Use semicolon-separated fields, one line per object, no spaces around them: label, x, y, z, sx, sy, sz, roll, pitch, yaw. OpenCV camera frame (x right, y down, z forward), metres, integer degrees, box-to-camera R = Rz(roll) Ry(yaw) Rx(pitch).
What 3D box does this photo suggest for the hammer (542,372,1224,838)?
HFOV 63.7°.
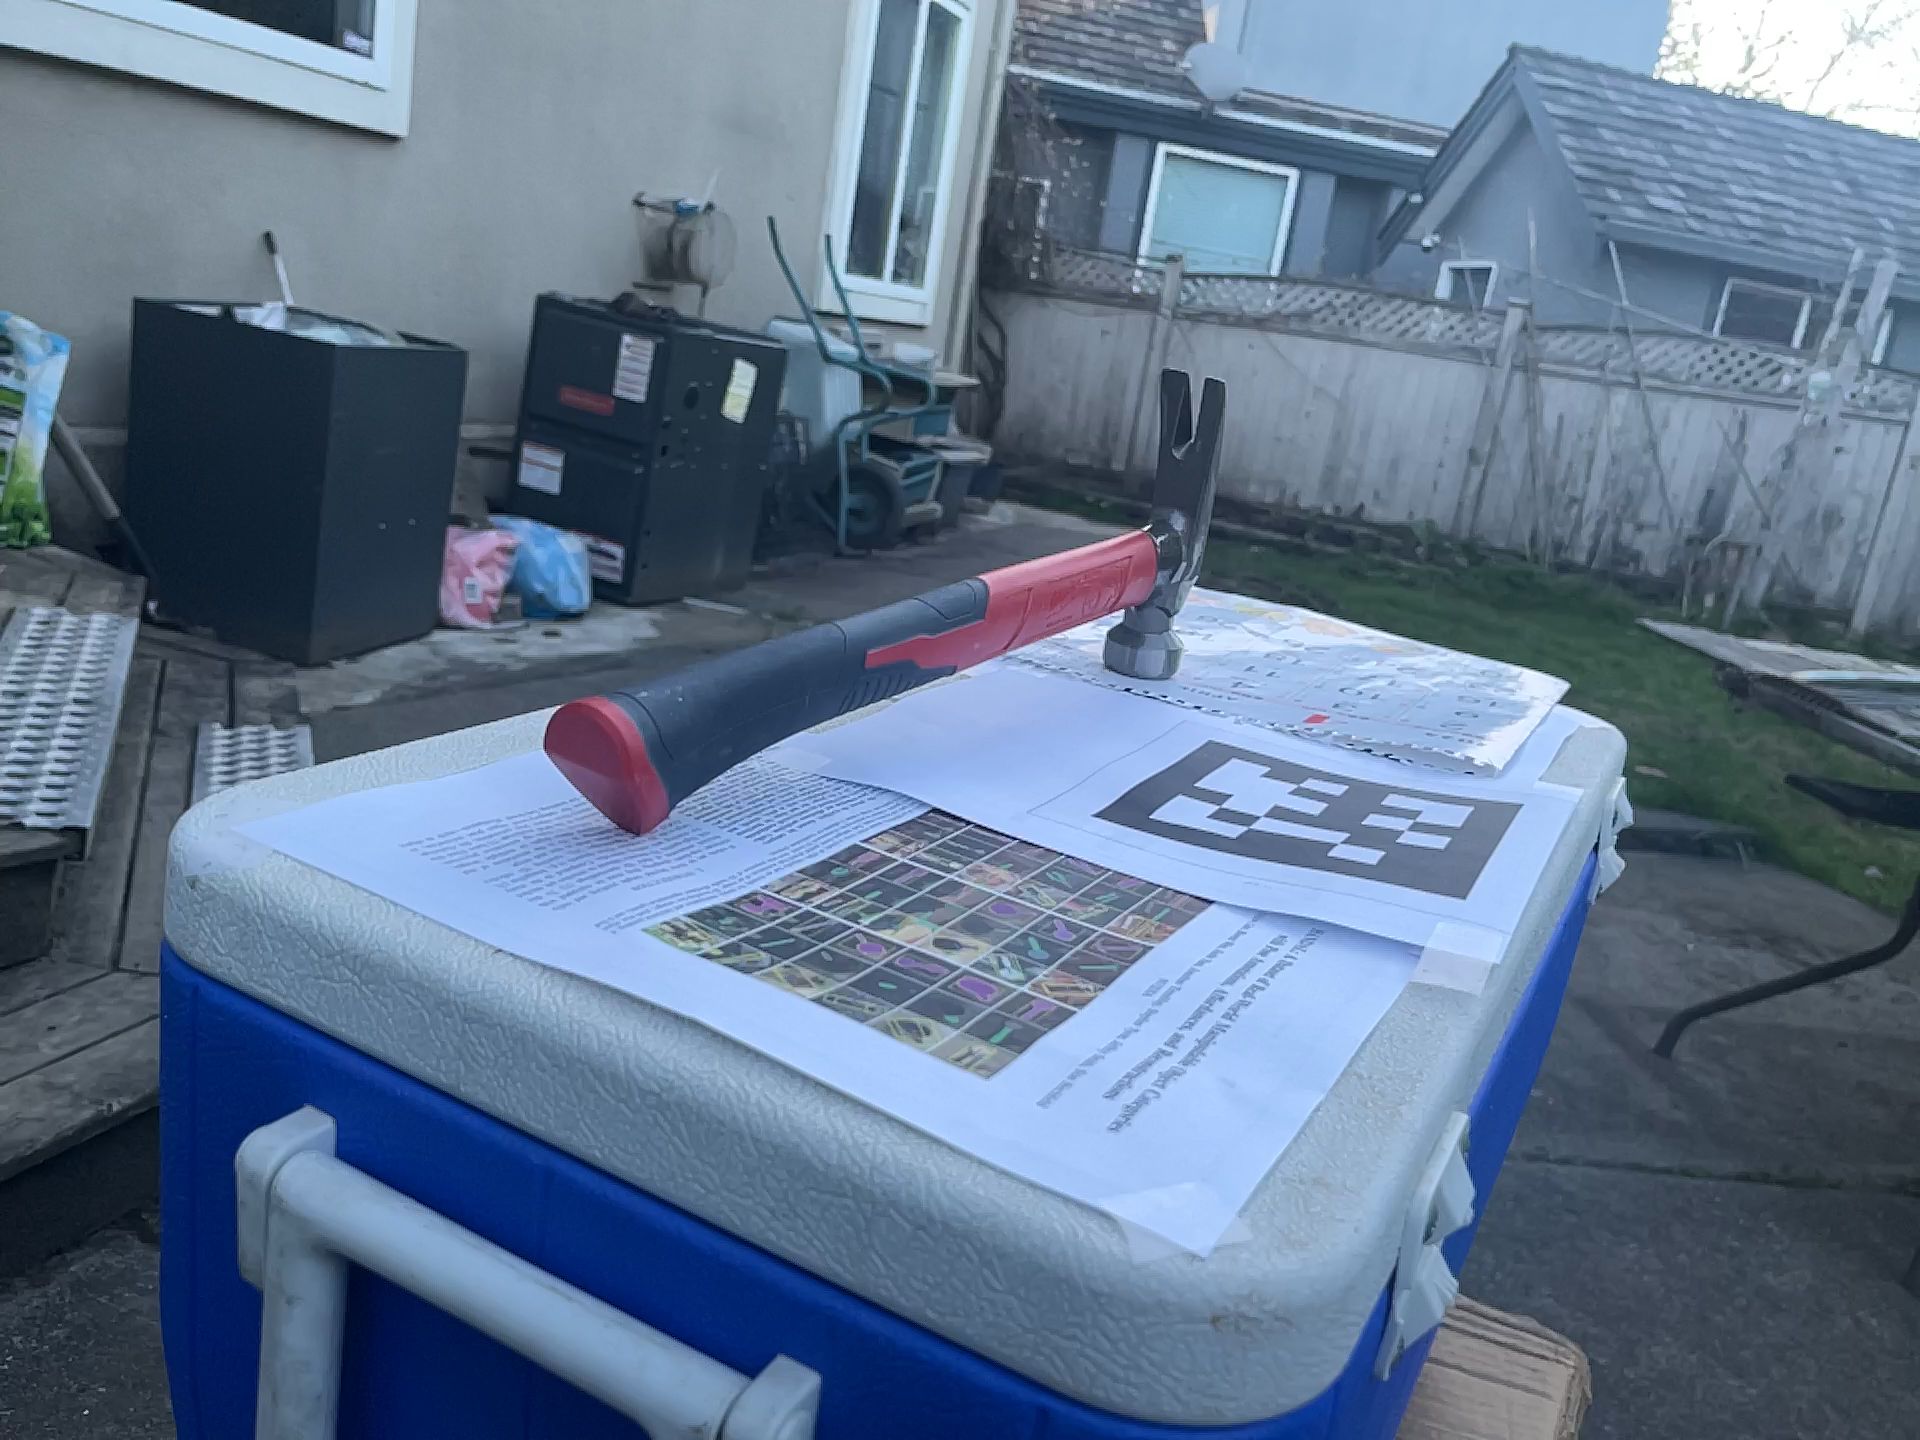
hammer;0.001;-0.049;0.583;0.038;0.143;0.386;19;23;29
